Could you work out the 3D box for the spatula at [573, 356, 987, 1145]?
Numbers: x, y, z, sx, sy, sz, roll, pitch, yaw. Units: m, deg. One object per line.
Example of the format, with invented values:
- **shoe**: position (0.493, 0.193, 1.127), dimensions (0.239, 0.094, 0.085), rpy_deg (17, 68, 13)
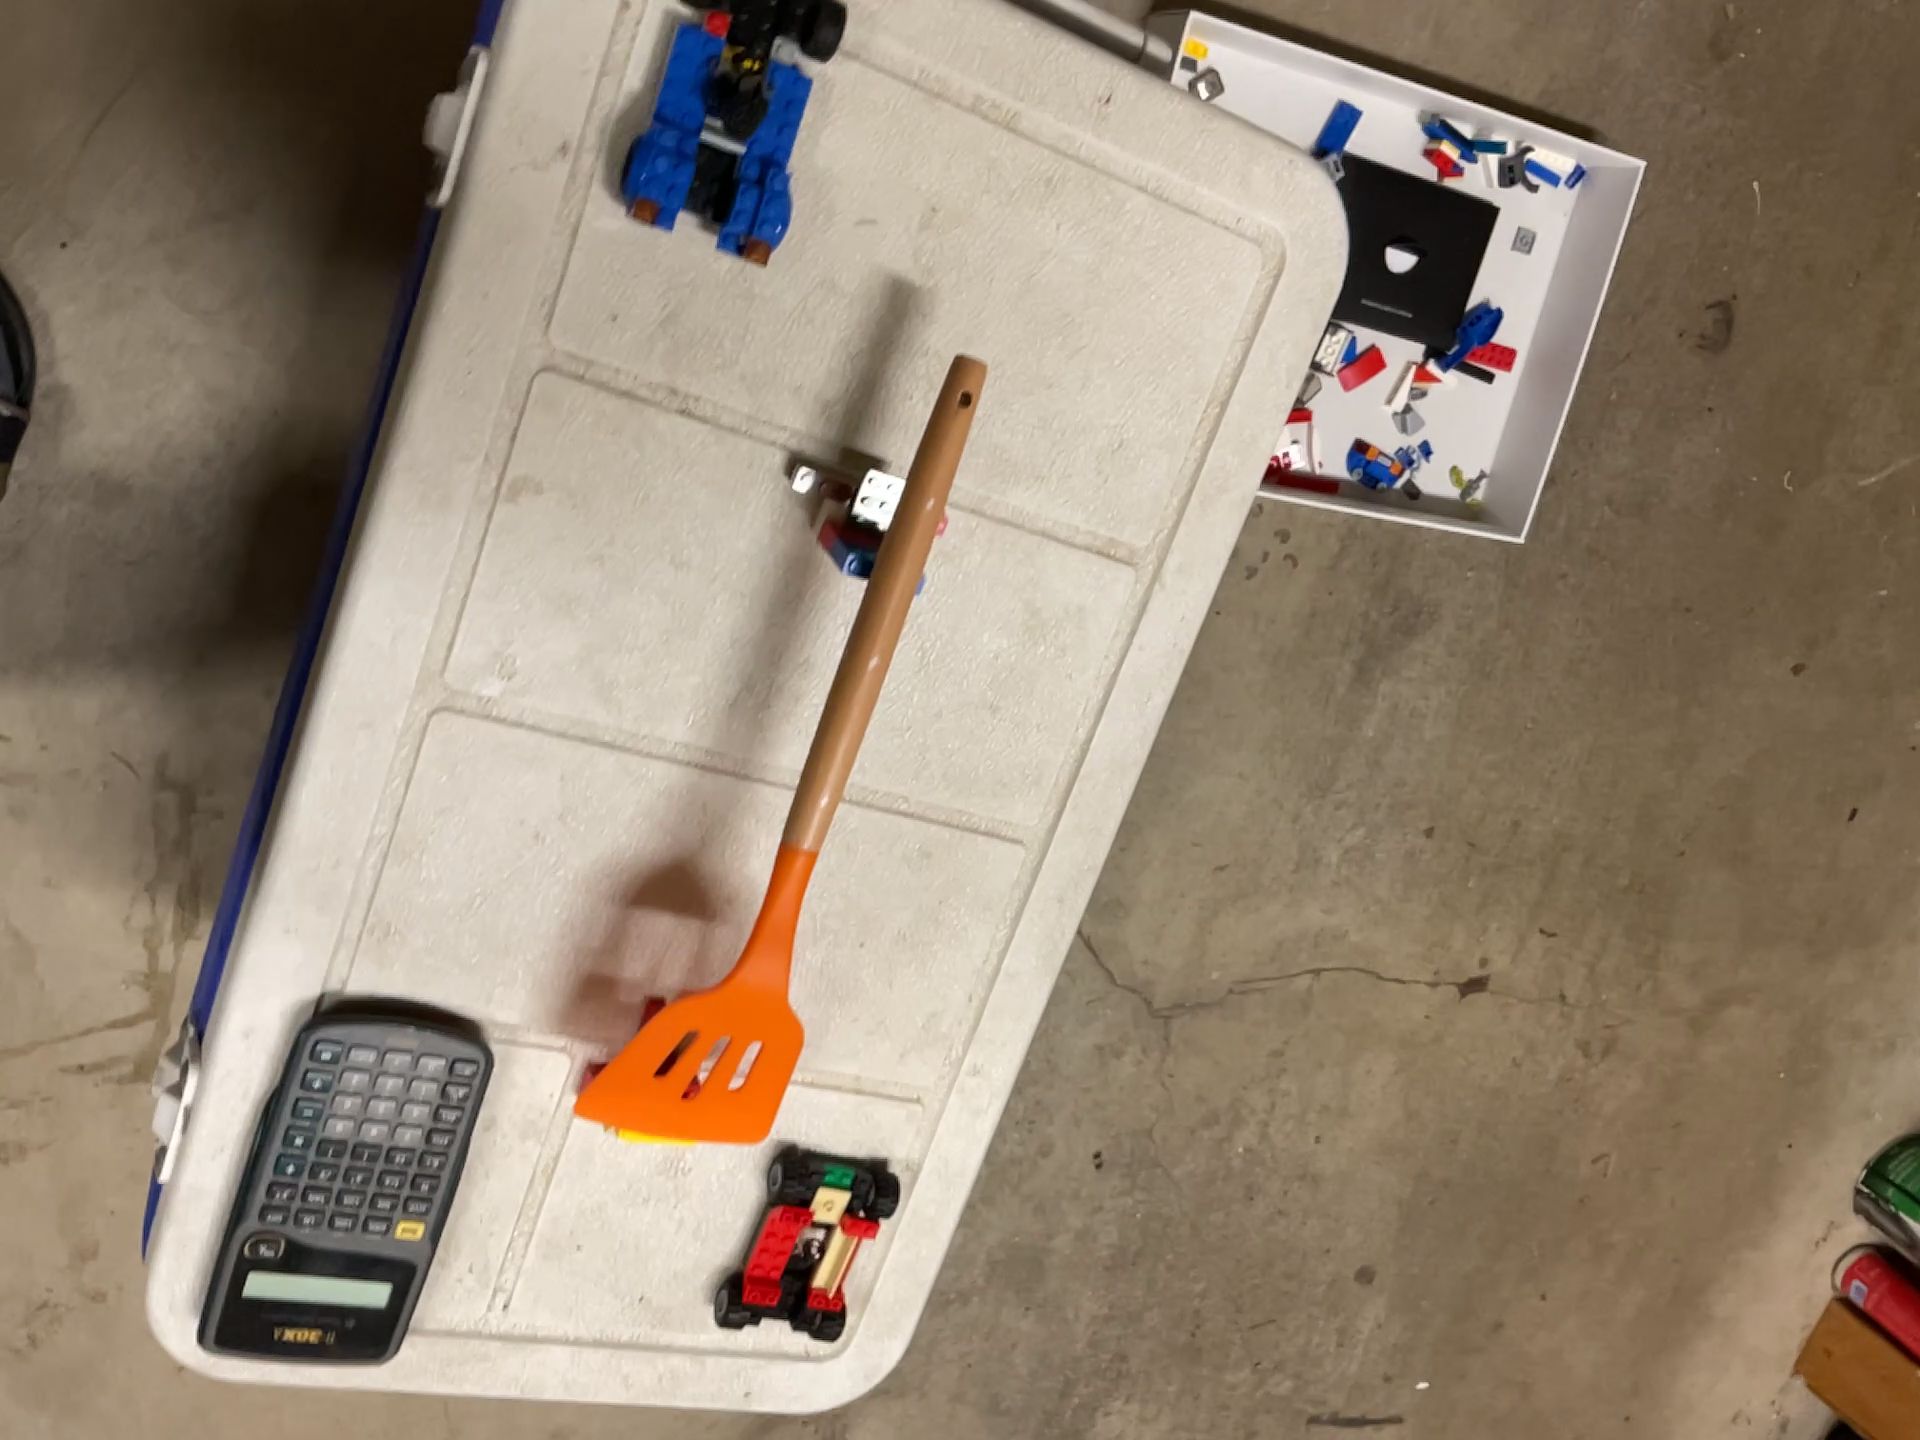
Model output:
- **spatula**: position (-0.055, 0.021, 0.591), dimensions (0.081, 0.041, 0.322), rpy_deg (16, 99, -25)
